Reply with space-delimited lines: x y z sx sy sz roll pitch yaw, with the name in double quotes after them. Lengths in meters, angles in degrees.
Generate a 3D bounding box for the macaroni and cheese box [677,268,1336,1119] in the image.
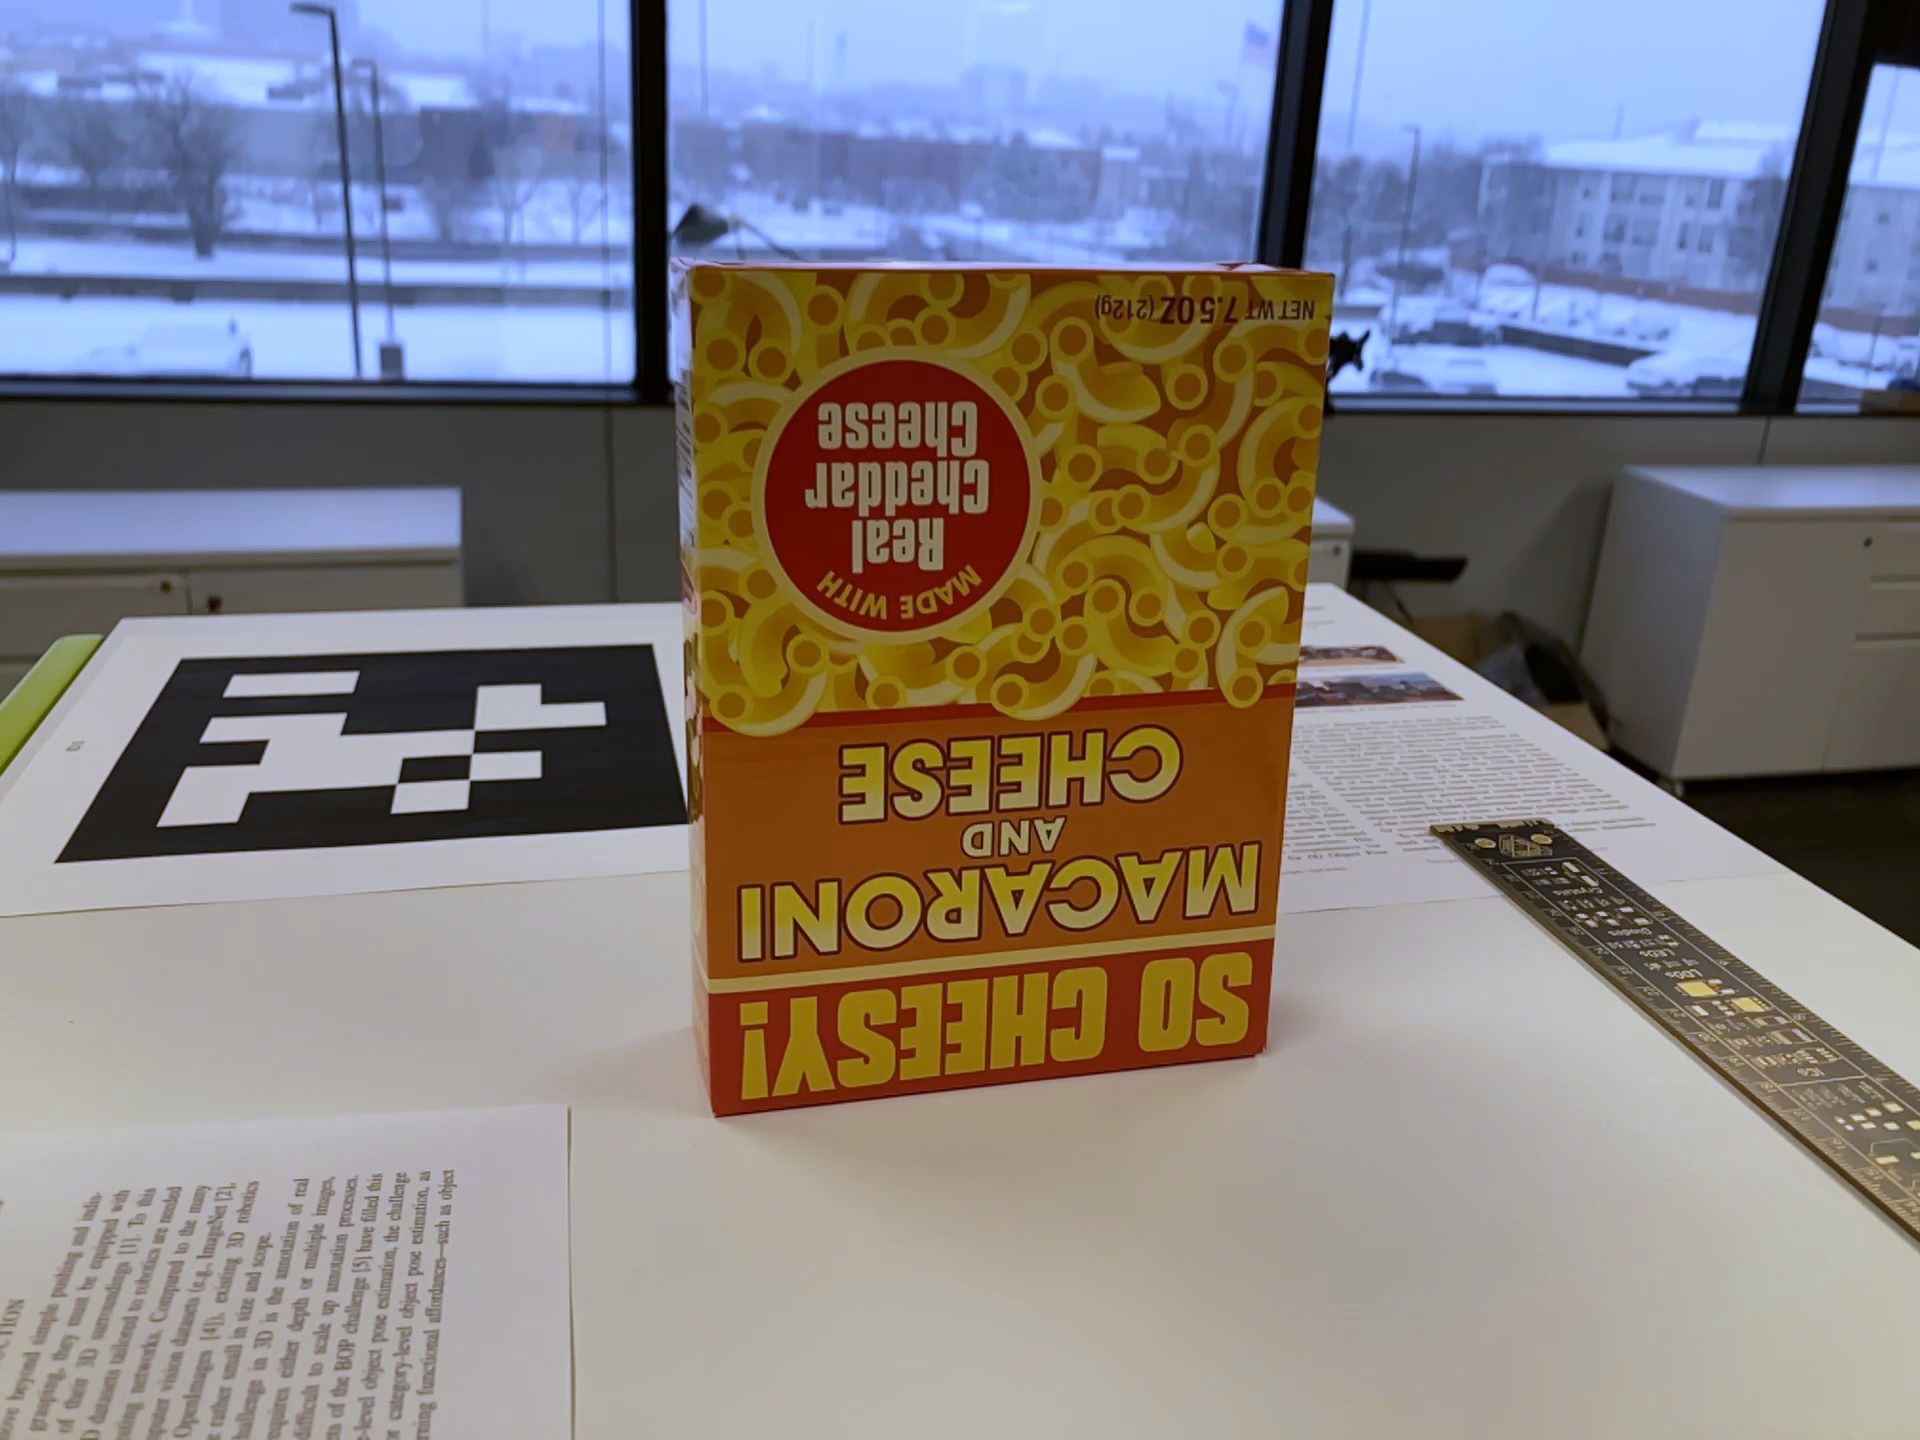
0.008 -0.007 0.330 0.124 0.166 0.040 -3 18 -14 "macaroni and cheese box"
